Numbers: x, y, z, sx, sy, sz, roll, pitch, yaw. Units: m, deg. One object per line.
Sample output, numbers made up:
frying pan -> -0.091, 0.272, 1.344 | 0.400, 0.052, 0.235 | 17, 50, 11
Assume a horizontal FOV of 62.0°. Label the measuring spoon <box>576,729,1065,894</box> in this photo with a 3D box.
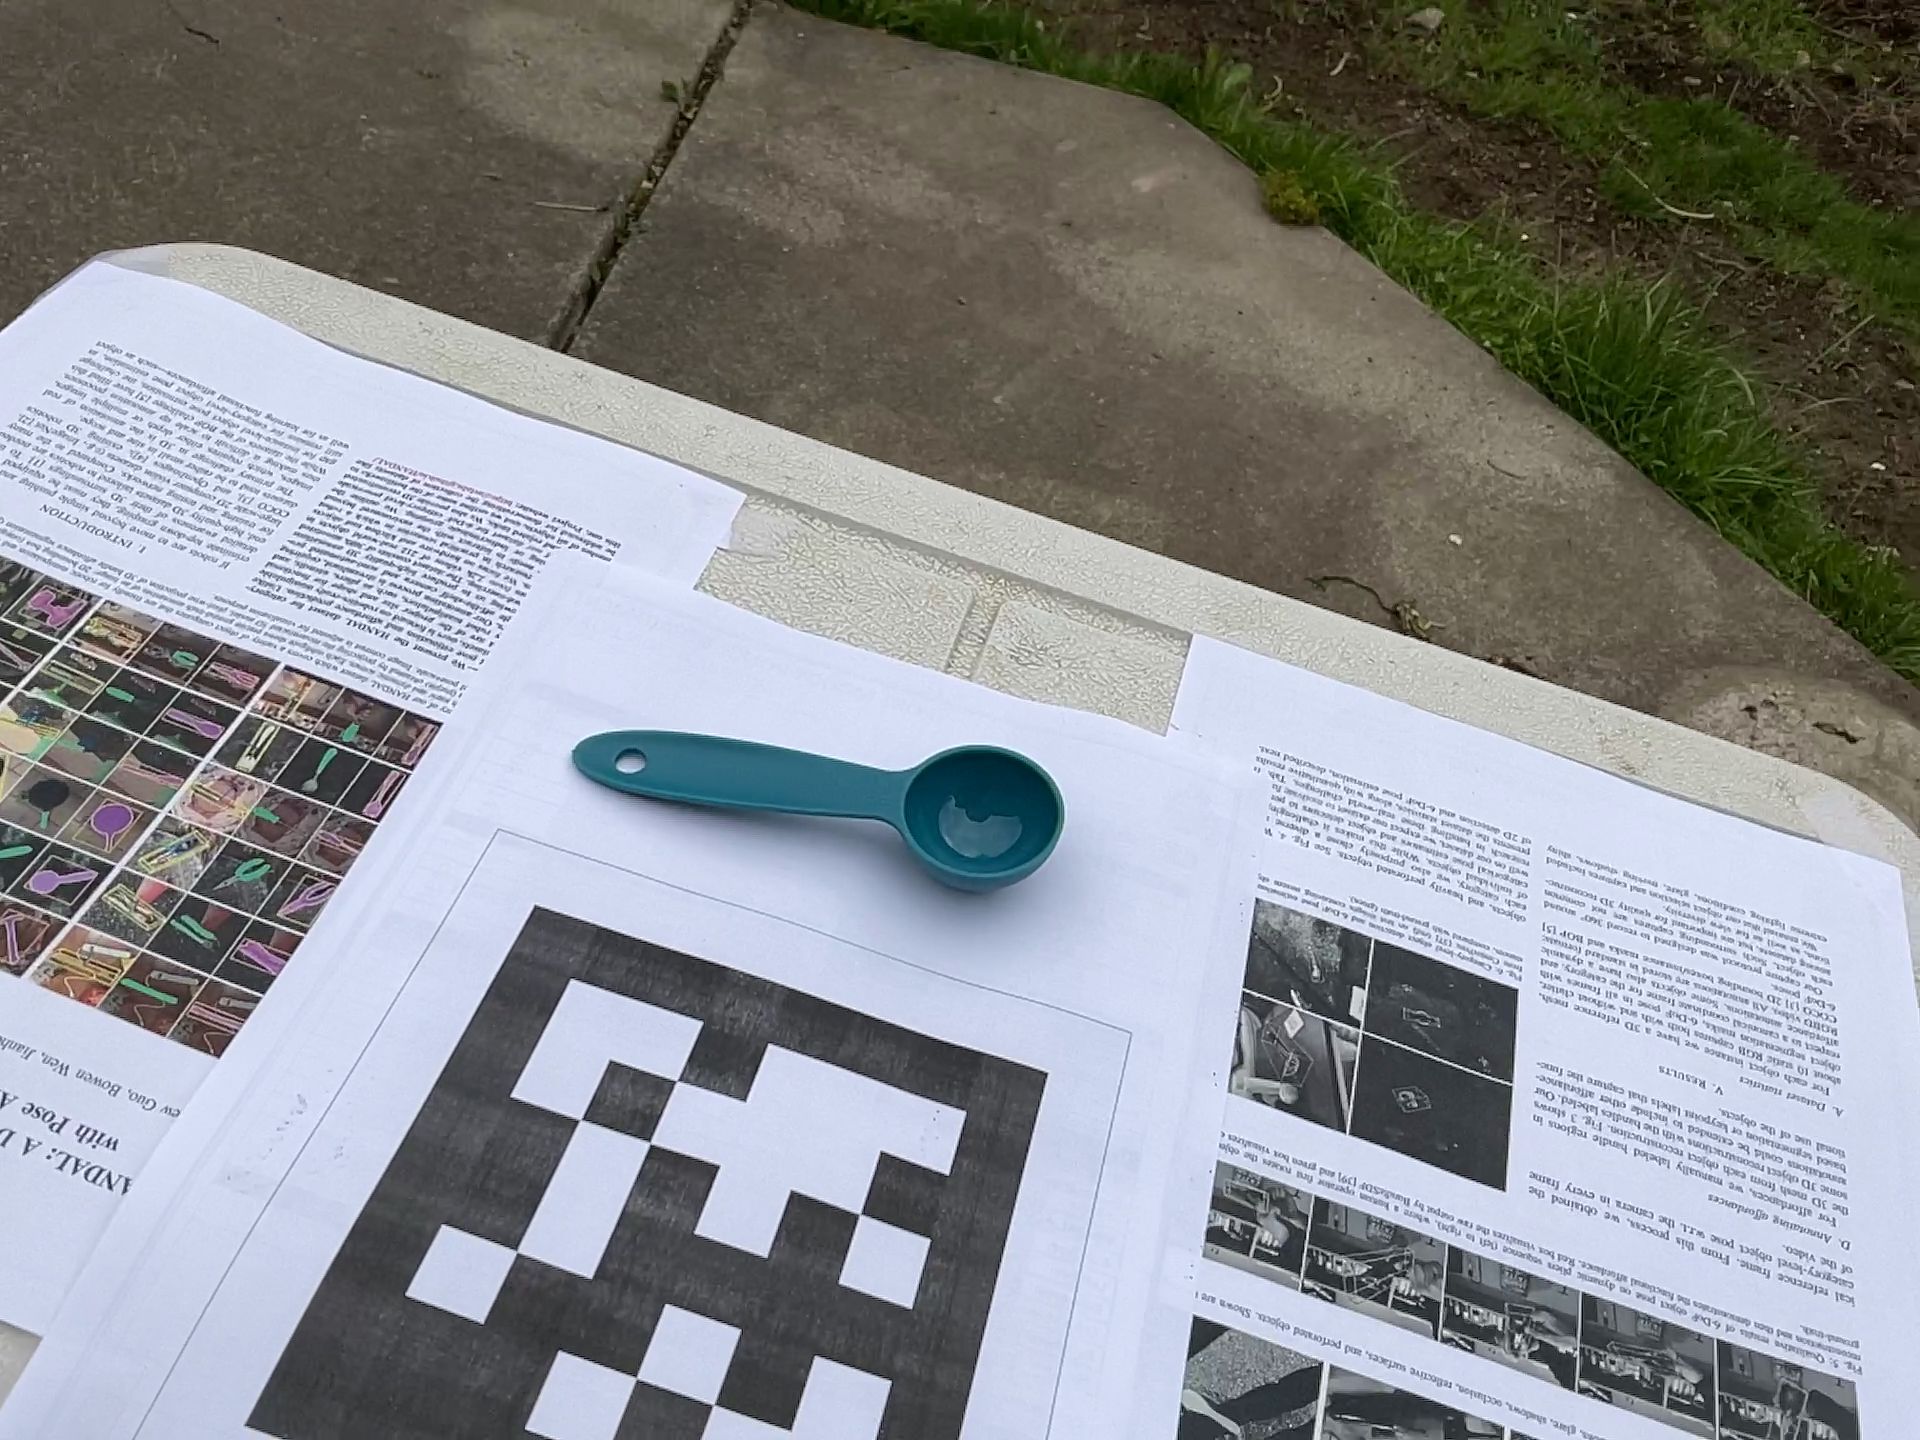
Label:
measuring spoon -> -0.037, 0.022, 0.417 | 0.128, 0.021, 0.042 | 9, 49, 7
